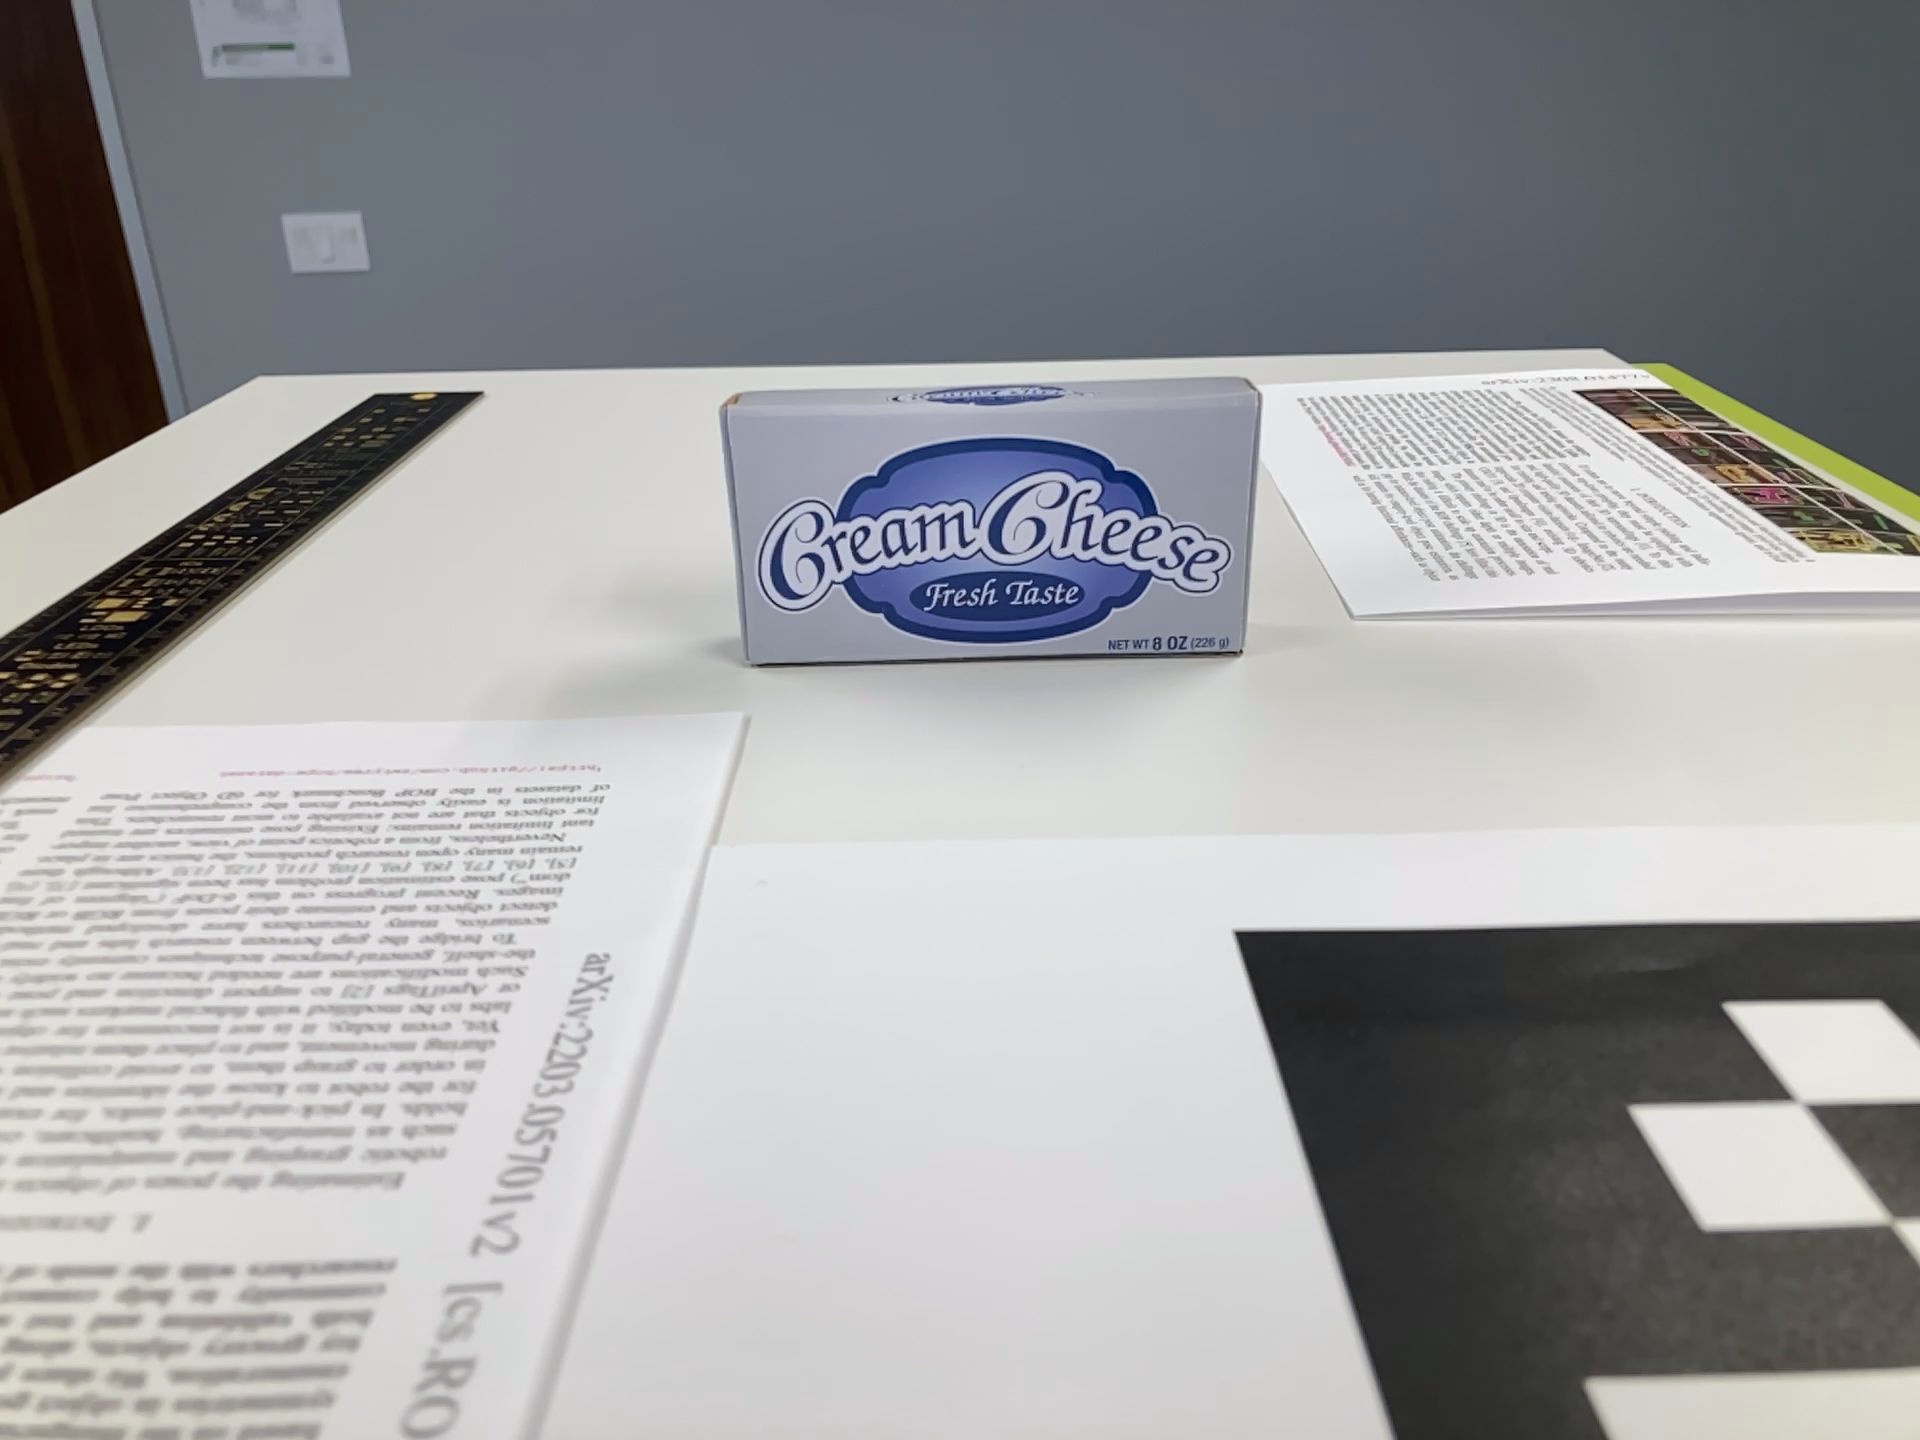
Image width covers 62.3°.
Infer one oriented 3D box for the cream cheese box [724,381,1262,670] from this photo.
[{"bbox_3d":[0.007,-0.040,0.322,0.104,0.053,0.024,-1,22,0],"label":"cream cheese box"}]
